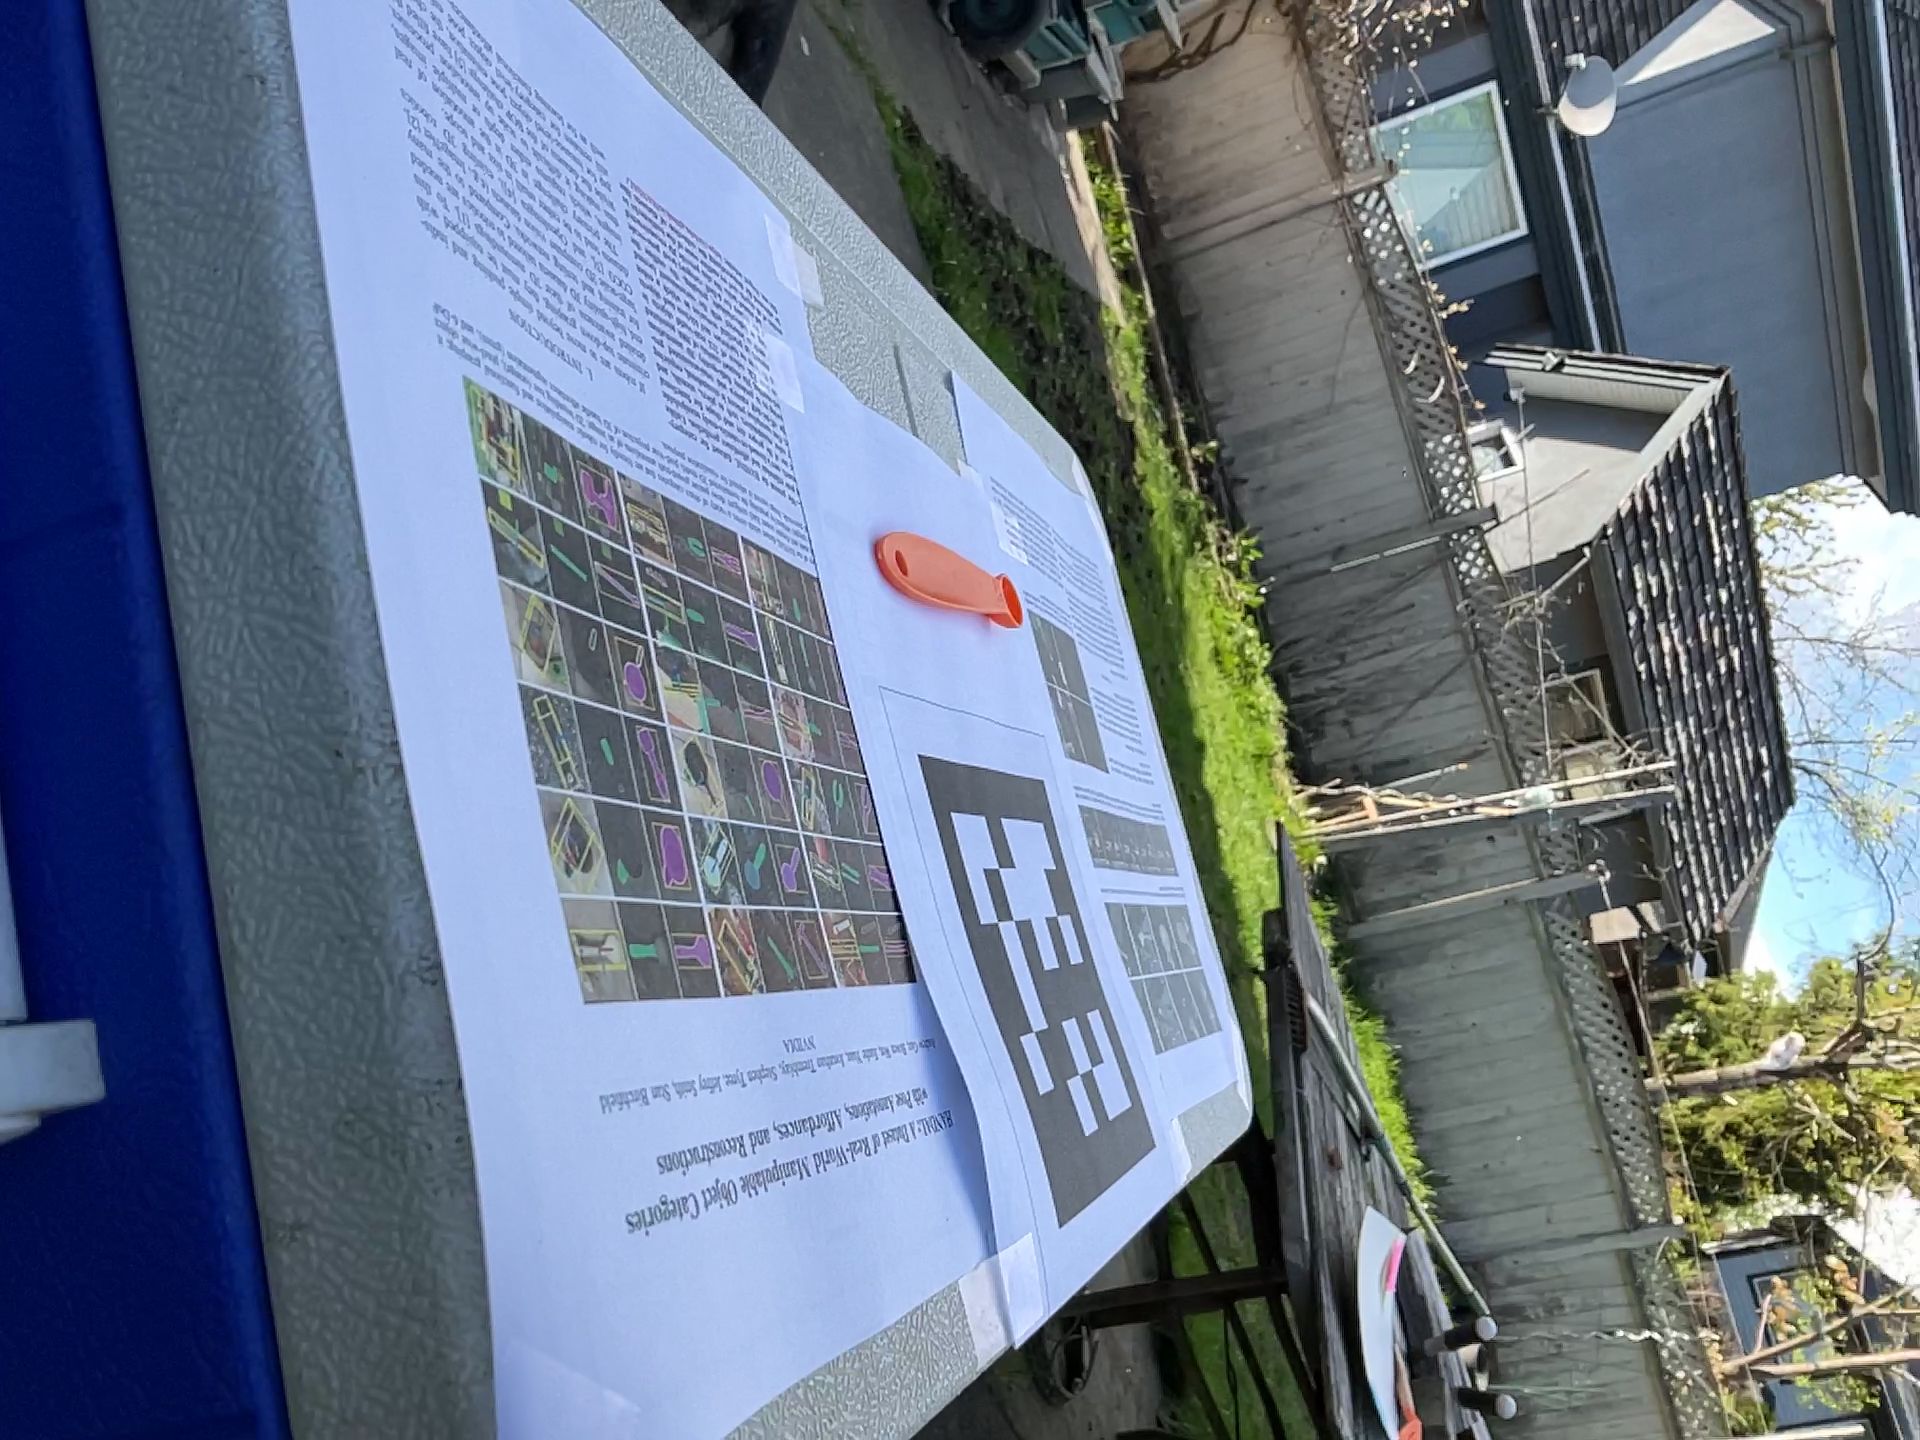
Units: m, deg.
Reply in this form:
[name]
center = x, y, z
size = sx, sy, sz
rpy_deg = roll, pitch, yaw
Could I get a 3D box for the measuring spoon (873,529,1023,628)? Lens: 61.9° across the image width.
[measuring spoon]
center = -0.004, -0.043, 0.498
size = 0.117, 0.011, 0.021
rpy_deg = 8, 66, -69
